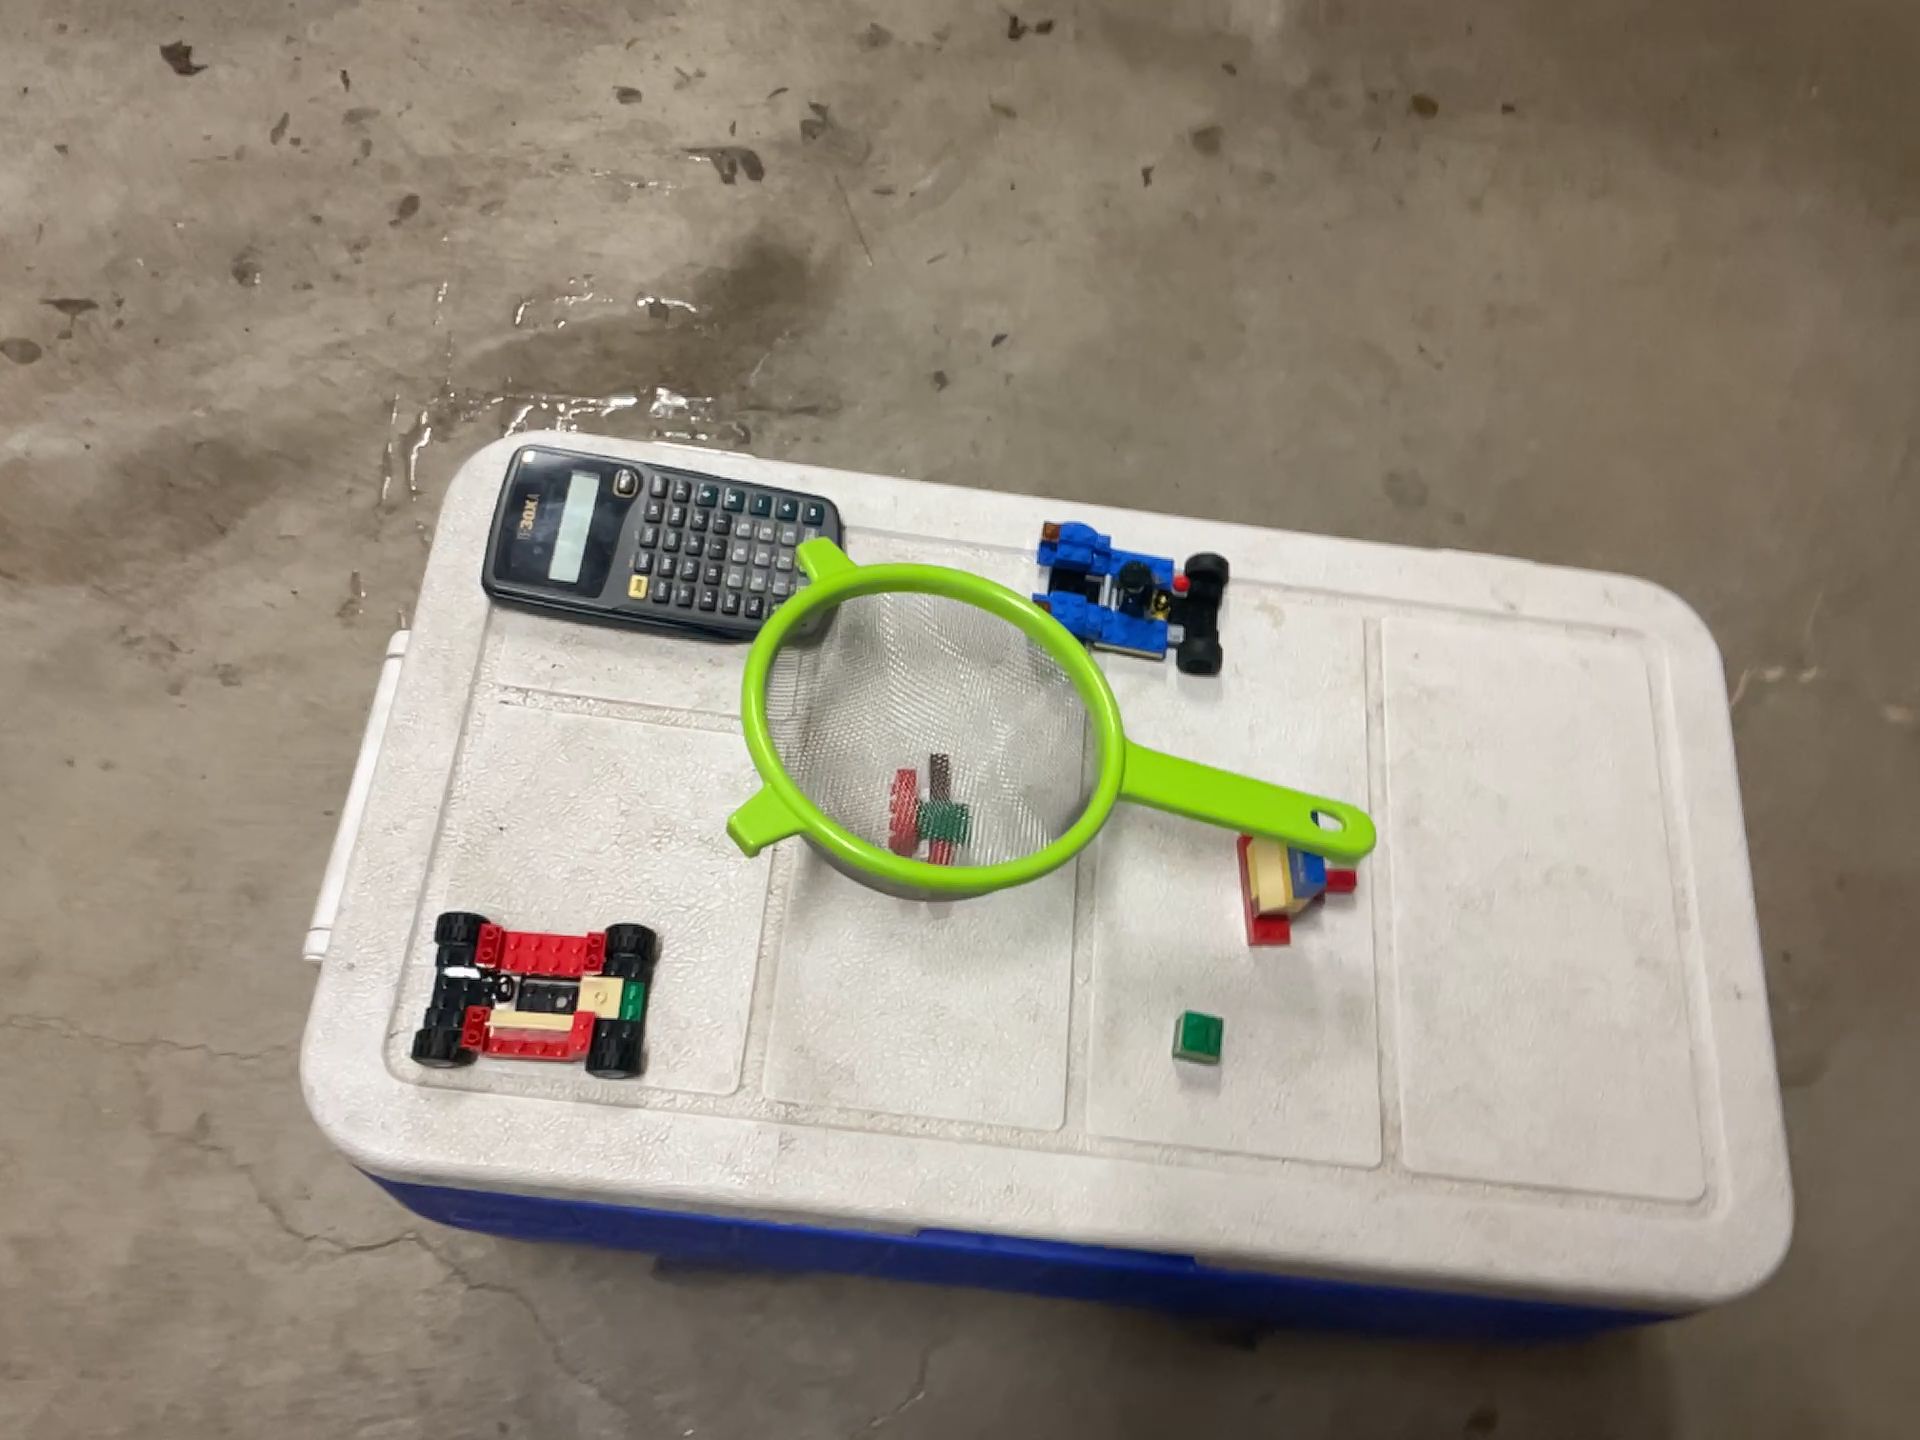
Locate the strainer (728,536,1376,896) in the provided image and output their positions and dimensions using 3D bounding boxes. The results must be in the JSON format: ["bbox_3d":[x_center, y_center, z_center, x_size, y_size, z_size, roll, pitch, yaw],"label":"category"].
[{"bbox_3d":[0.035,0.028,0.638,0.256,0.069,0.152,16,51,-9],"label":"strainer"}]
